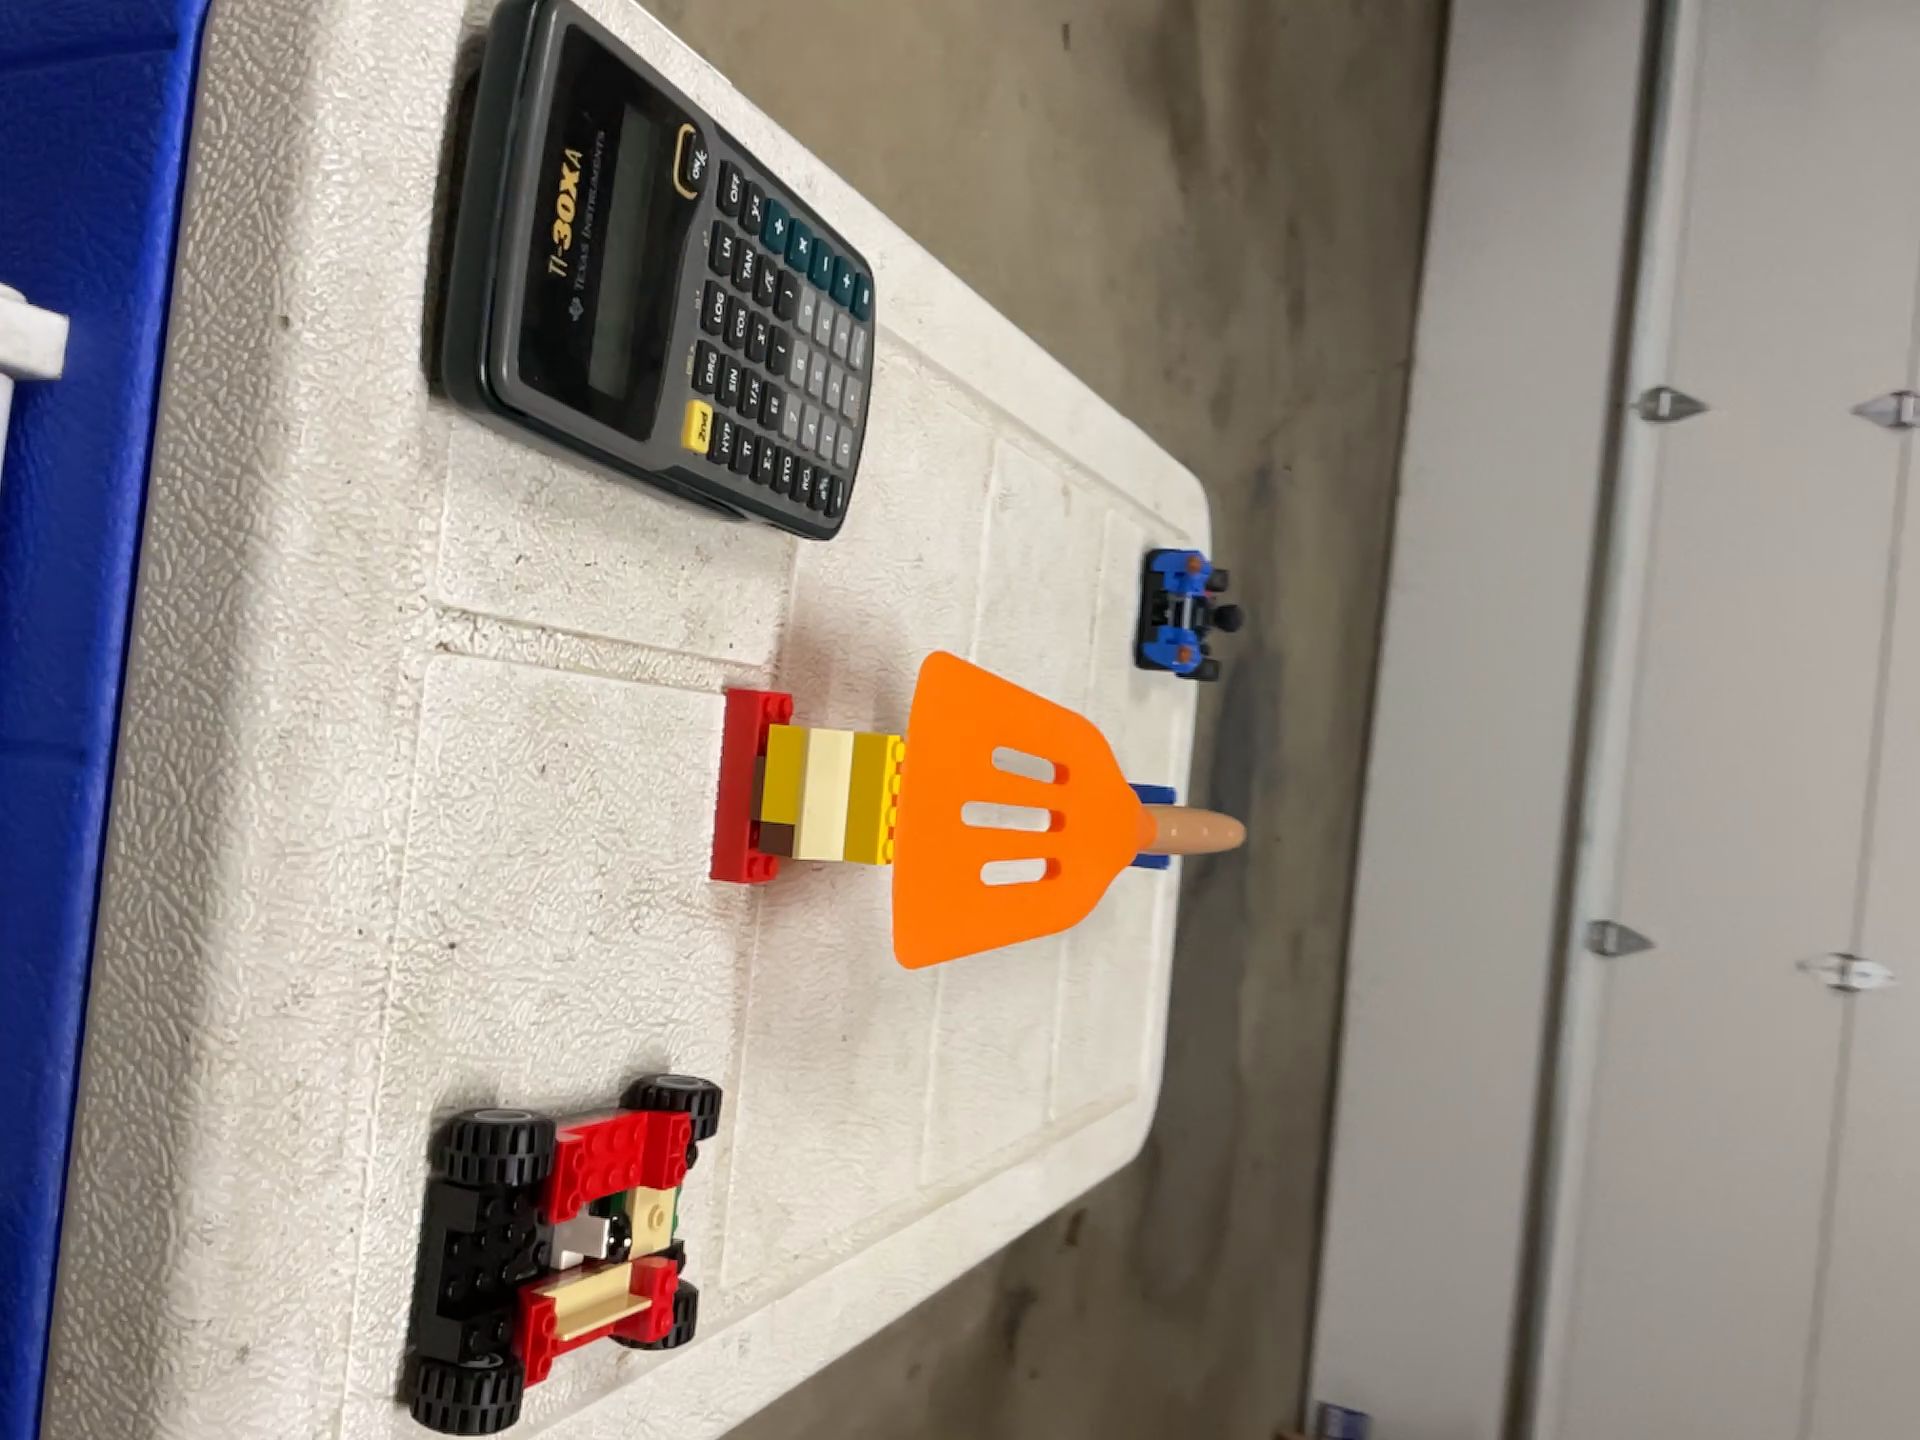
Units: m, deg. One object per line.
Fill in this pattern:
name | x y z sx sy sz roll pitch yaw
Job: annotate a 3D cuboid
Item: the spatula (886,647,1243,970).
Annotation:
spatula | 0.054 0.035 0.536 0.322 0.041 0.081 14 81 -70
